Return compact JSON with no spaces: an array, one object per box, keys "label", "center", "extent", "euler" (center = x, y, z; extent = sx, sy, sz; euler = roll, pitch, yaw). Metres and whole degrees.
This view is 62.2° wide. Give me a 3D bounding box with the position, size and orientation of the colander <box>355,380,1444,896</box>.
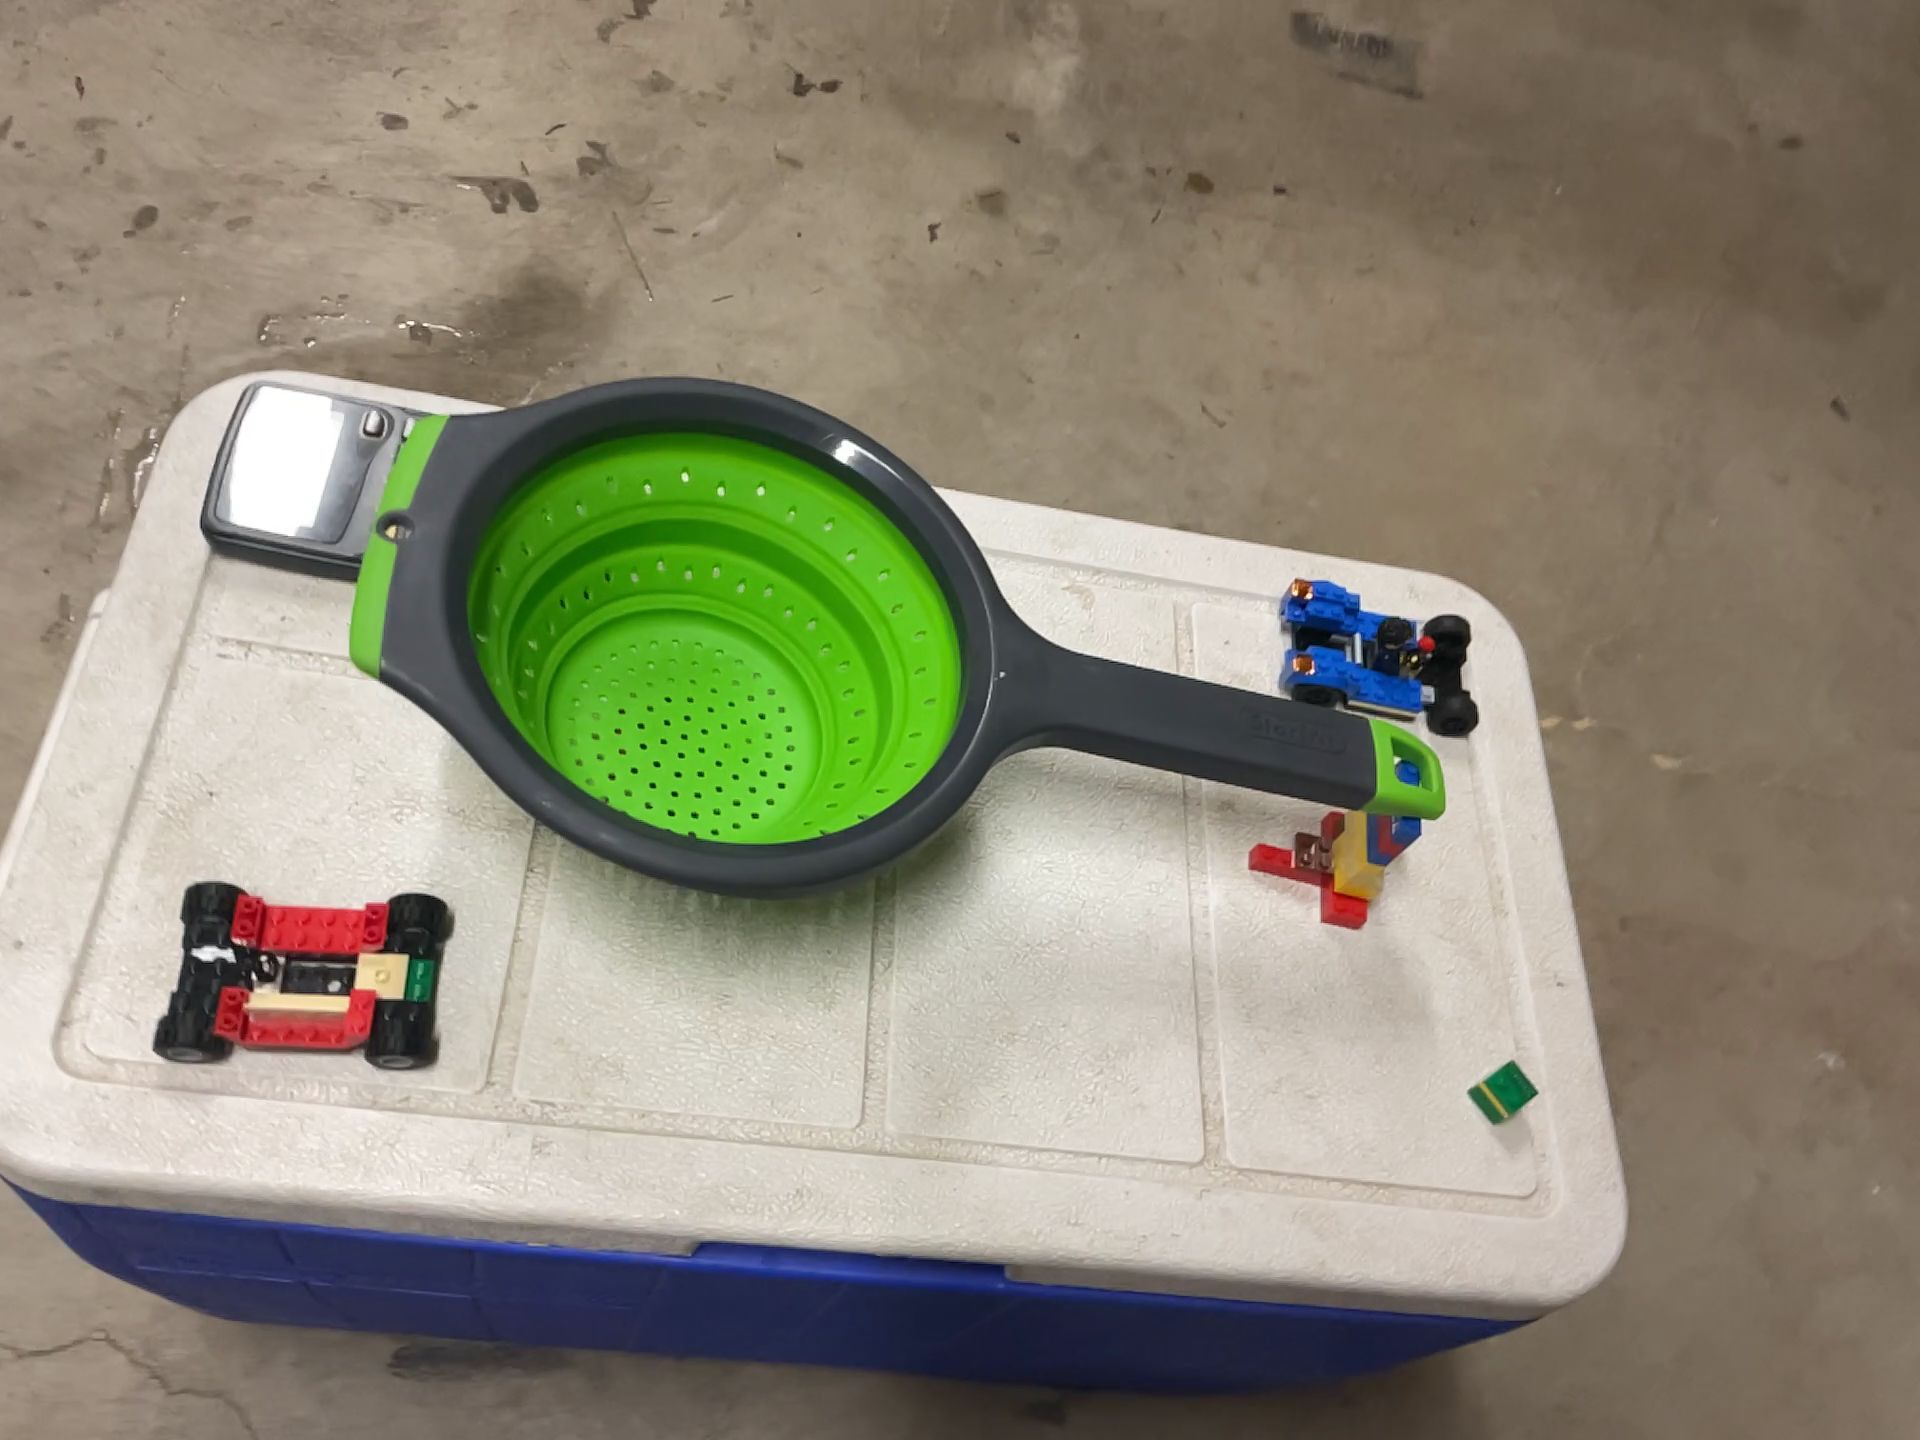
[{"label":"colander","center":[-0.013,0.002,0.595],"extent":[0.397,0.094,0.205],"euler":[13,55,-14]}]
